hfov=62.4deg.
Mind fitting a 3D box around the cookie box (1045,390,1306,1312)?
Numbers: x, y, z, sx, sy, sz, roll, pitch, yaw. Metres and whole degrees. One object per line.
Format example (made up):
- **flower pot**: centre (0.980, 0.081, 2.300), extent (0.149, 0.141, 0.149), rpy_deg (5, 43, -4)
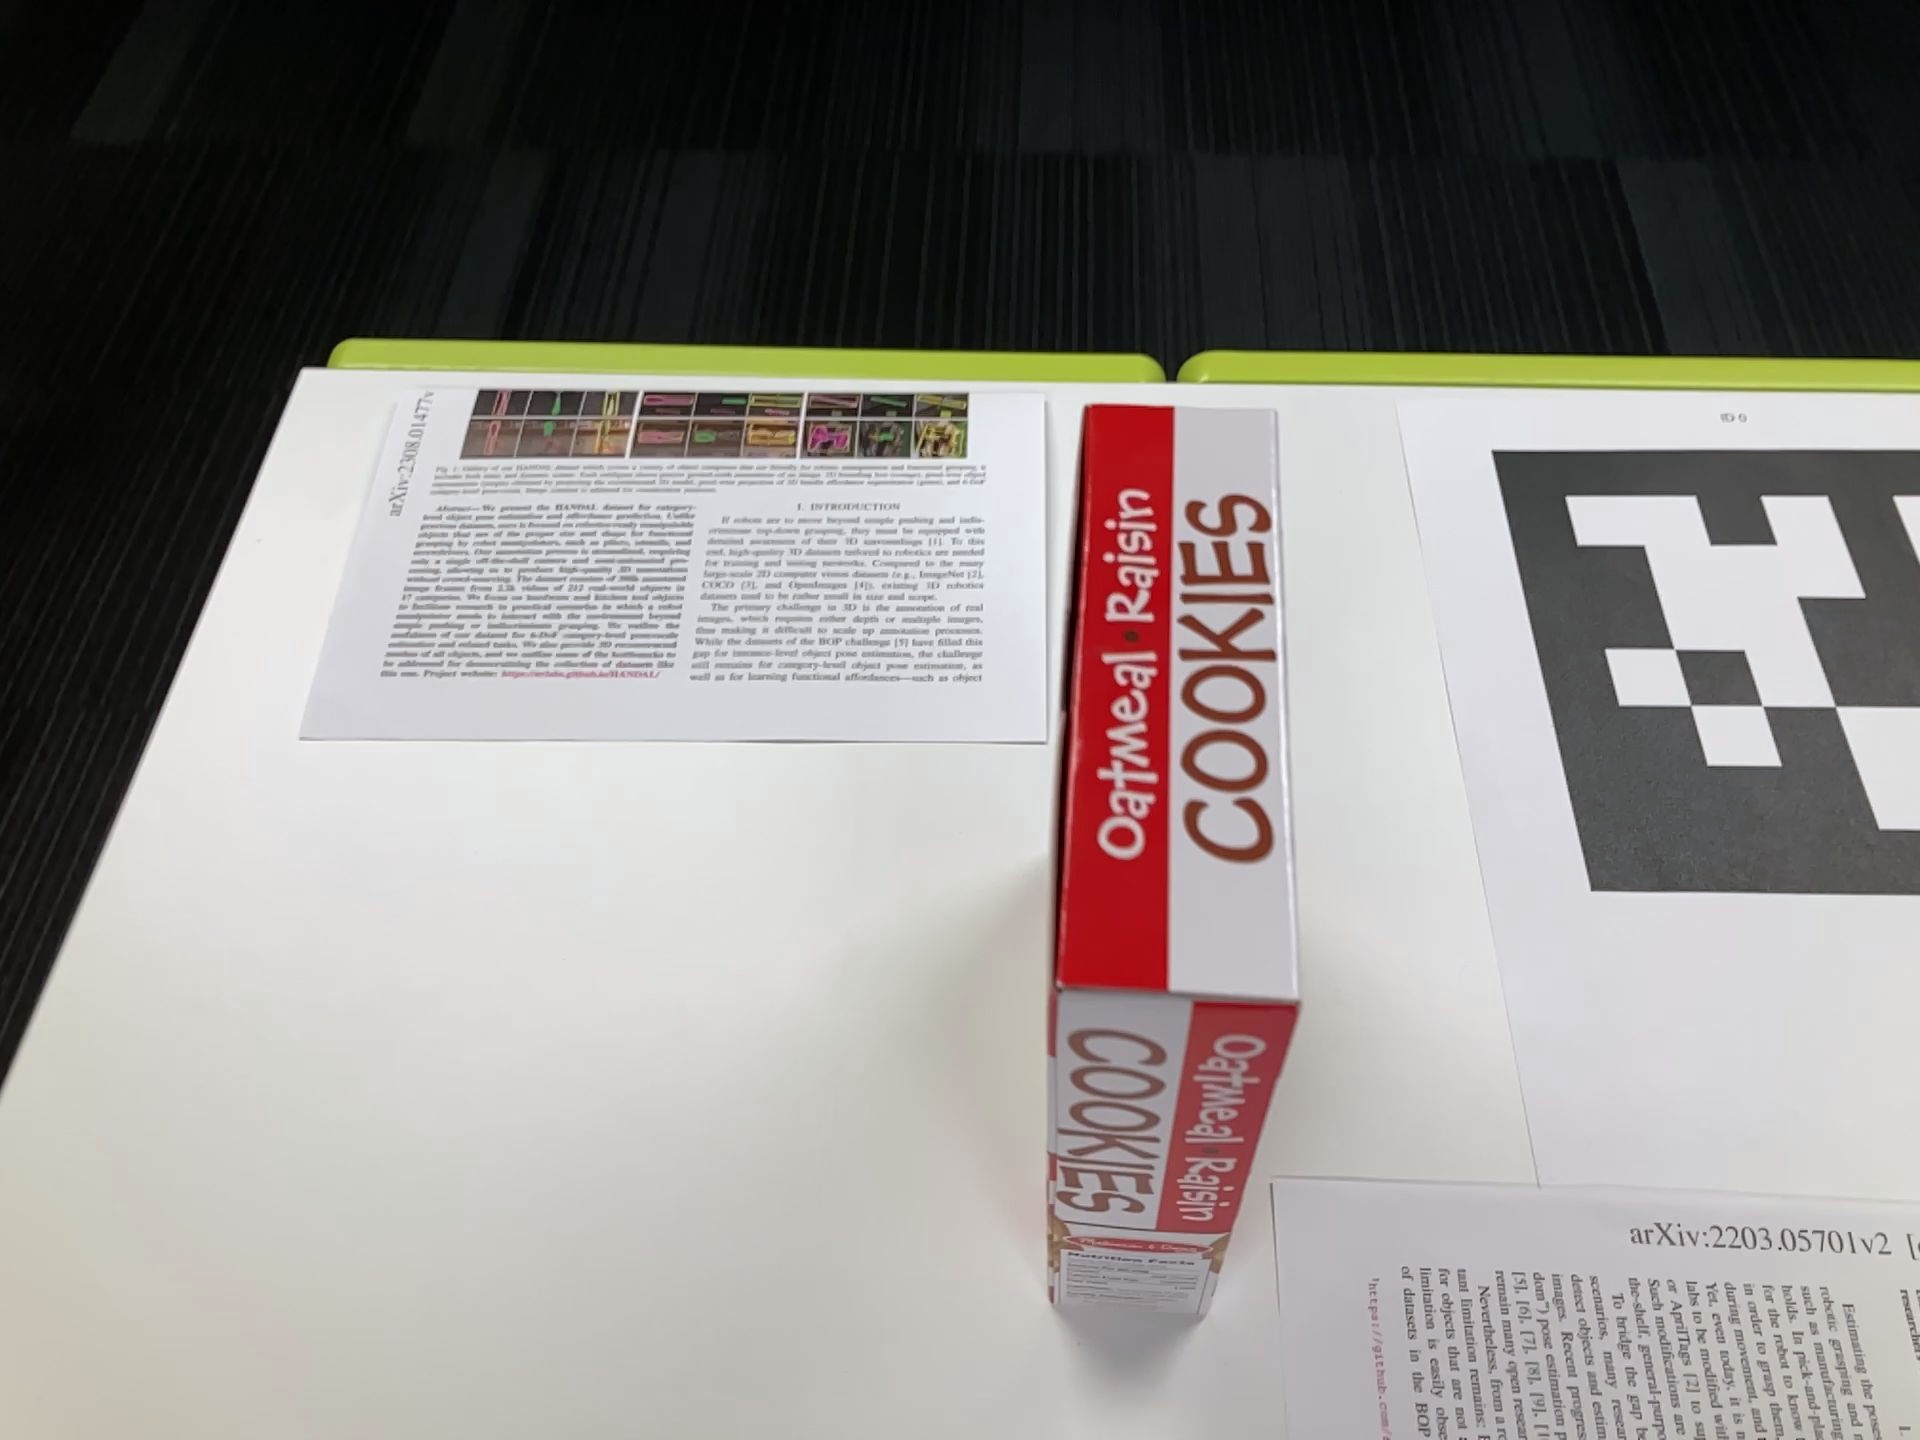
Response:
- **cookie box**: centre (0.038, 0.036, 0.328), extent (0.040, 0.167, 0.123), rpy_deg (2, 55, 4)
